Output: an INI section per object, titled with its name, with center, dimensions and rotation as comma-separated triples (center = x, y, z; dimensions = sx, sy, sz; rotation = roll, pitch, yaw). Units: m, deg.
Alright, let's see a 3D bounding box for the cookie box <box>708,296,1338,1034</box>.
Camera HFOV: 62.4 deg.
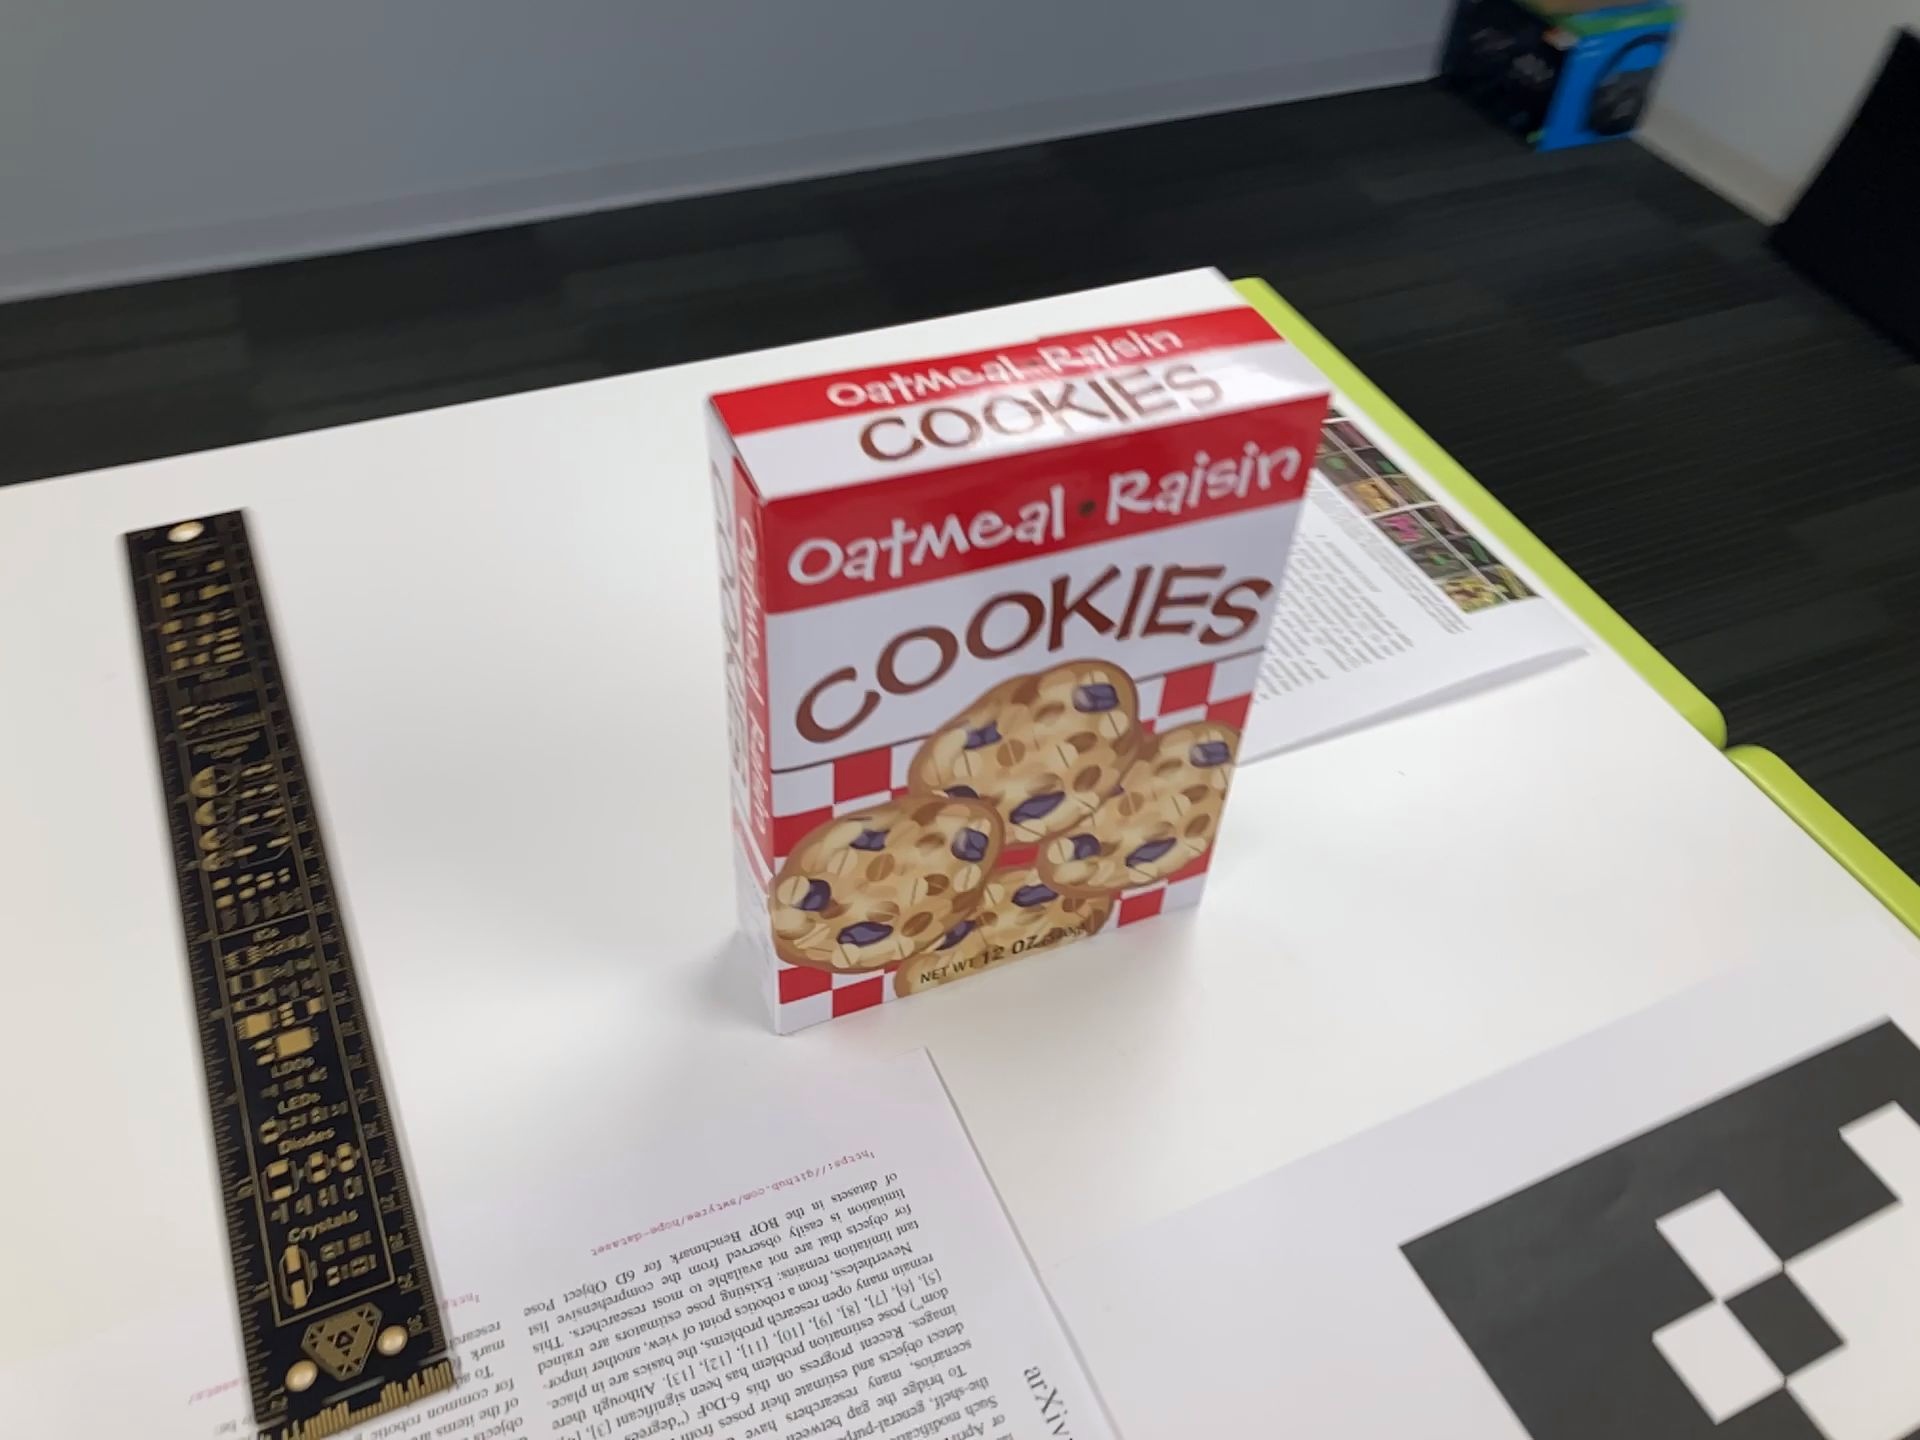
[cookie box]
center = 0.009, -0.008, 0.369
dimensions = 0.123, 0.167, 0.040
rotation = -14, 47, -18
